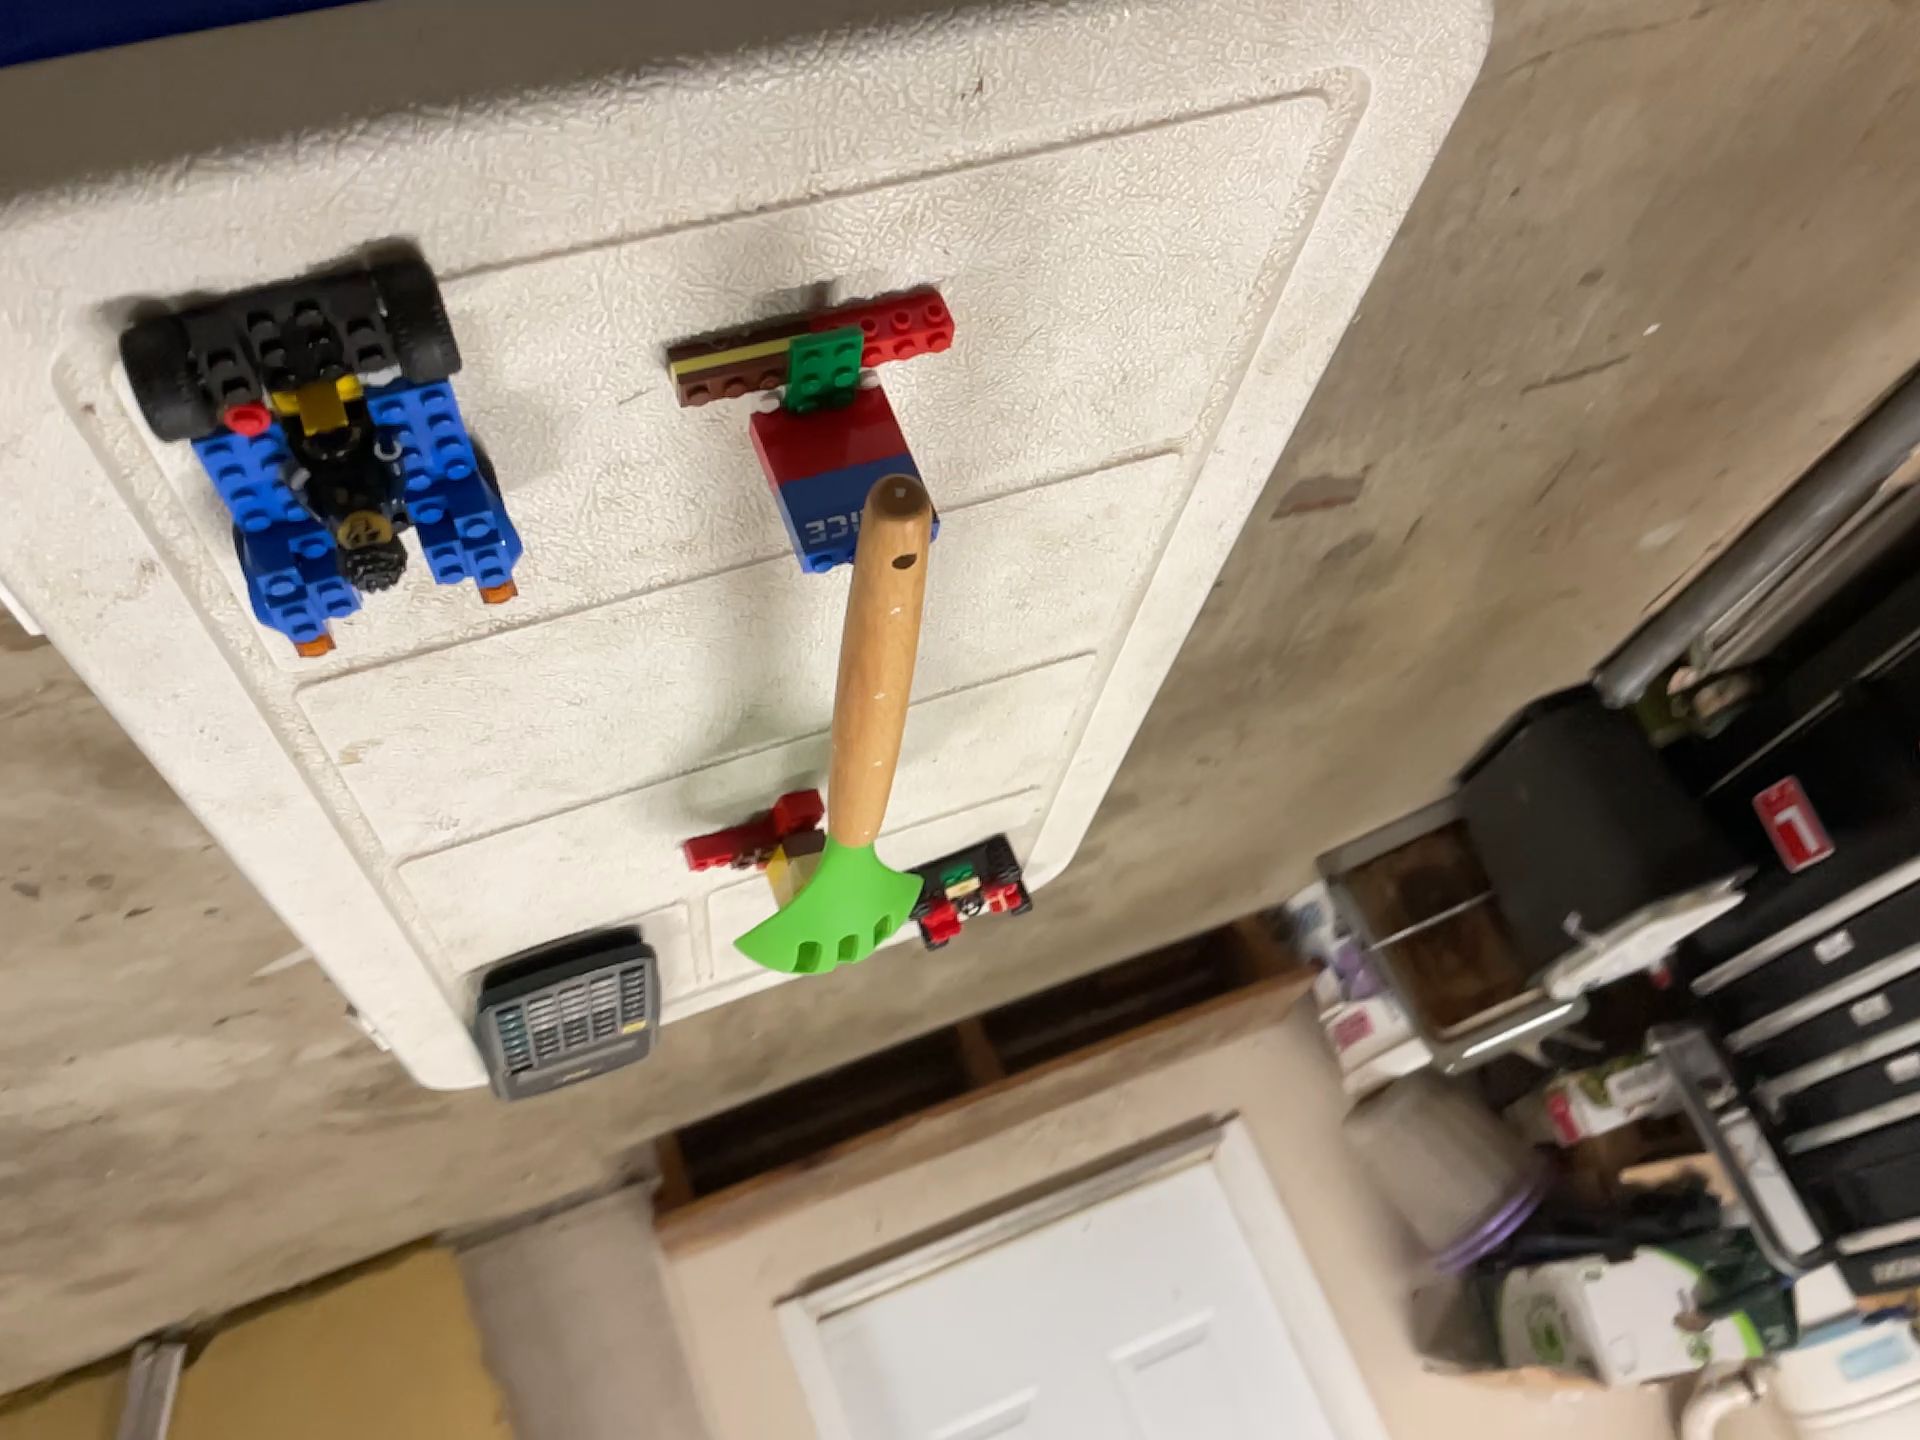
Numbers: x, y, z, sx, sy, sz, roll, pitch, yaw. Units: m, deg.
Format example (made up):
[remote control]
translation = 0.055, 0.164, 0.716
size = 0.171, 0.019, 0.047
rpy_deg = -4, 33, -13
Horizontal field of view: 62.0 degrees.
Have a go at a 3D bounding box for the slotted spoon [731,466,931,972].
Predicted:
[slotted spoon]
translation = -0.031, 0.020, 0.454
size = 0.070, 0.031, 0.313
rpy_deg = -16, 158, -14
